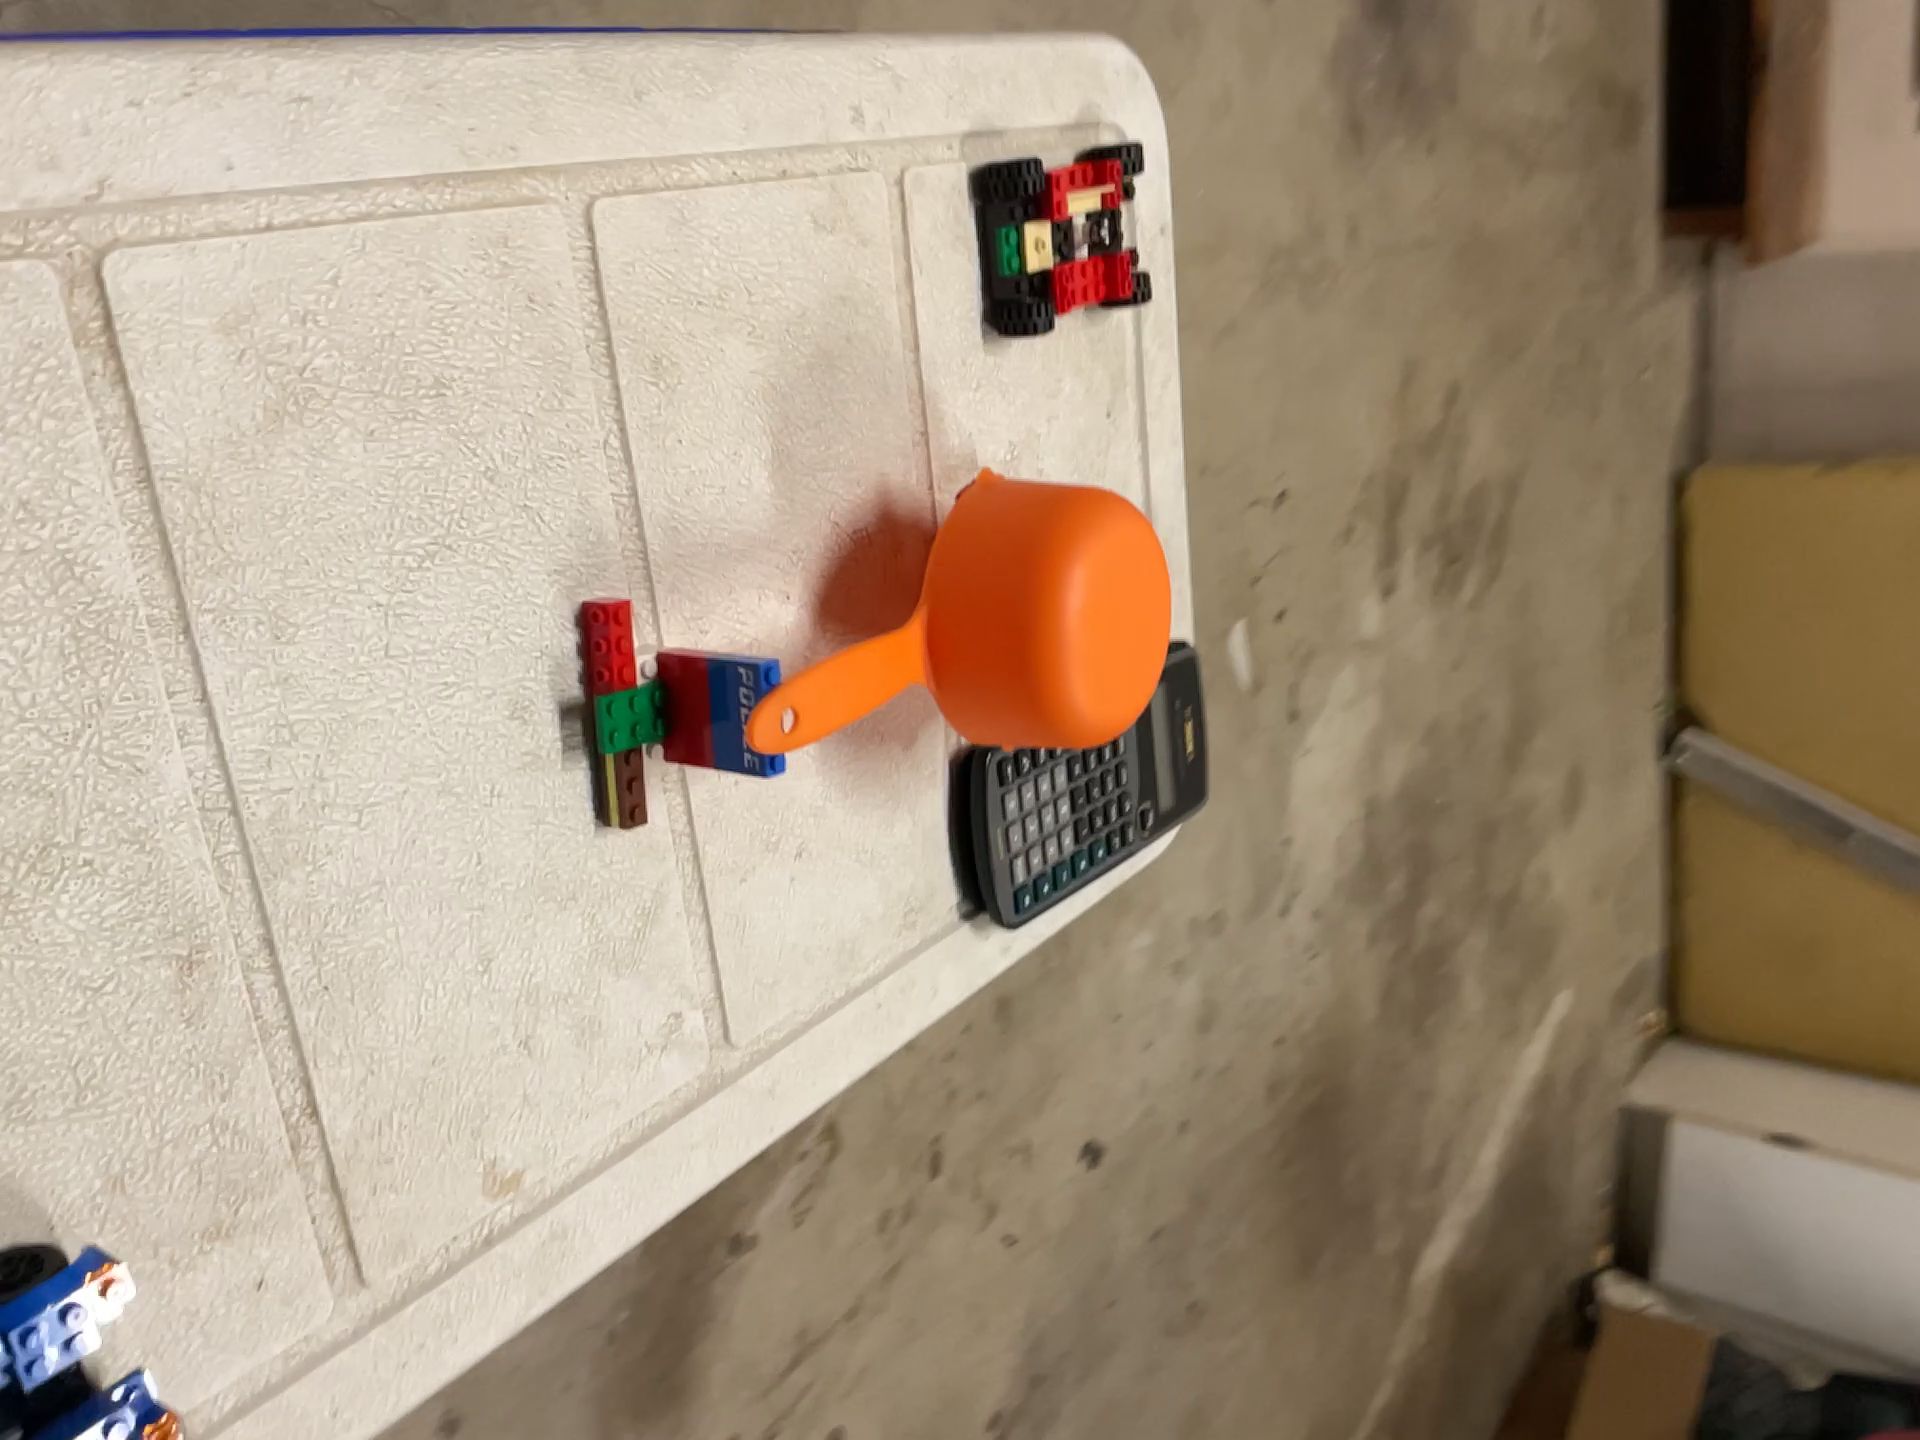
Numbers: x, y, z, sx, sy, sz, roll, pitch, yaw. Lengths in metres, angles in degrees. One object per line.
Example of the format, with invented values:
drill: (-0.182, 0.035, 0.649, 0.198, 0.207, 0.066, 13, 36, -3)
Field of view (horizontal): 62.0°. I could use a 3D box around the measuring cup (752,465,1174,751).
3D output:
measuring cup: (0.010, -0.021, 0.474, 0.173, 0.052, 0.095, -30, 119, -53)
